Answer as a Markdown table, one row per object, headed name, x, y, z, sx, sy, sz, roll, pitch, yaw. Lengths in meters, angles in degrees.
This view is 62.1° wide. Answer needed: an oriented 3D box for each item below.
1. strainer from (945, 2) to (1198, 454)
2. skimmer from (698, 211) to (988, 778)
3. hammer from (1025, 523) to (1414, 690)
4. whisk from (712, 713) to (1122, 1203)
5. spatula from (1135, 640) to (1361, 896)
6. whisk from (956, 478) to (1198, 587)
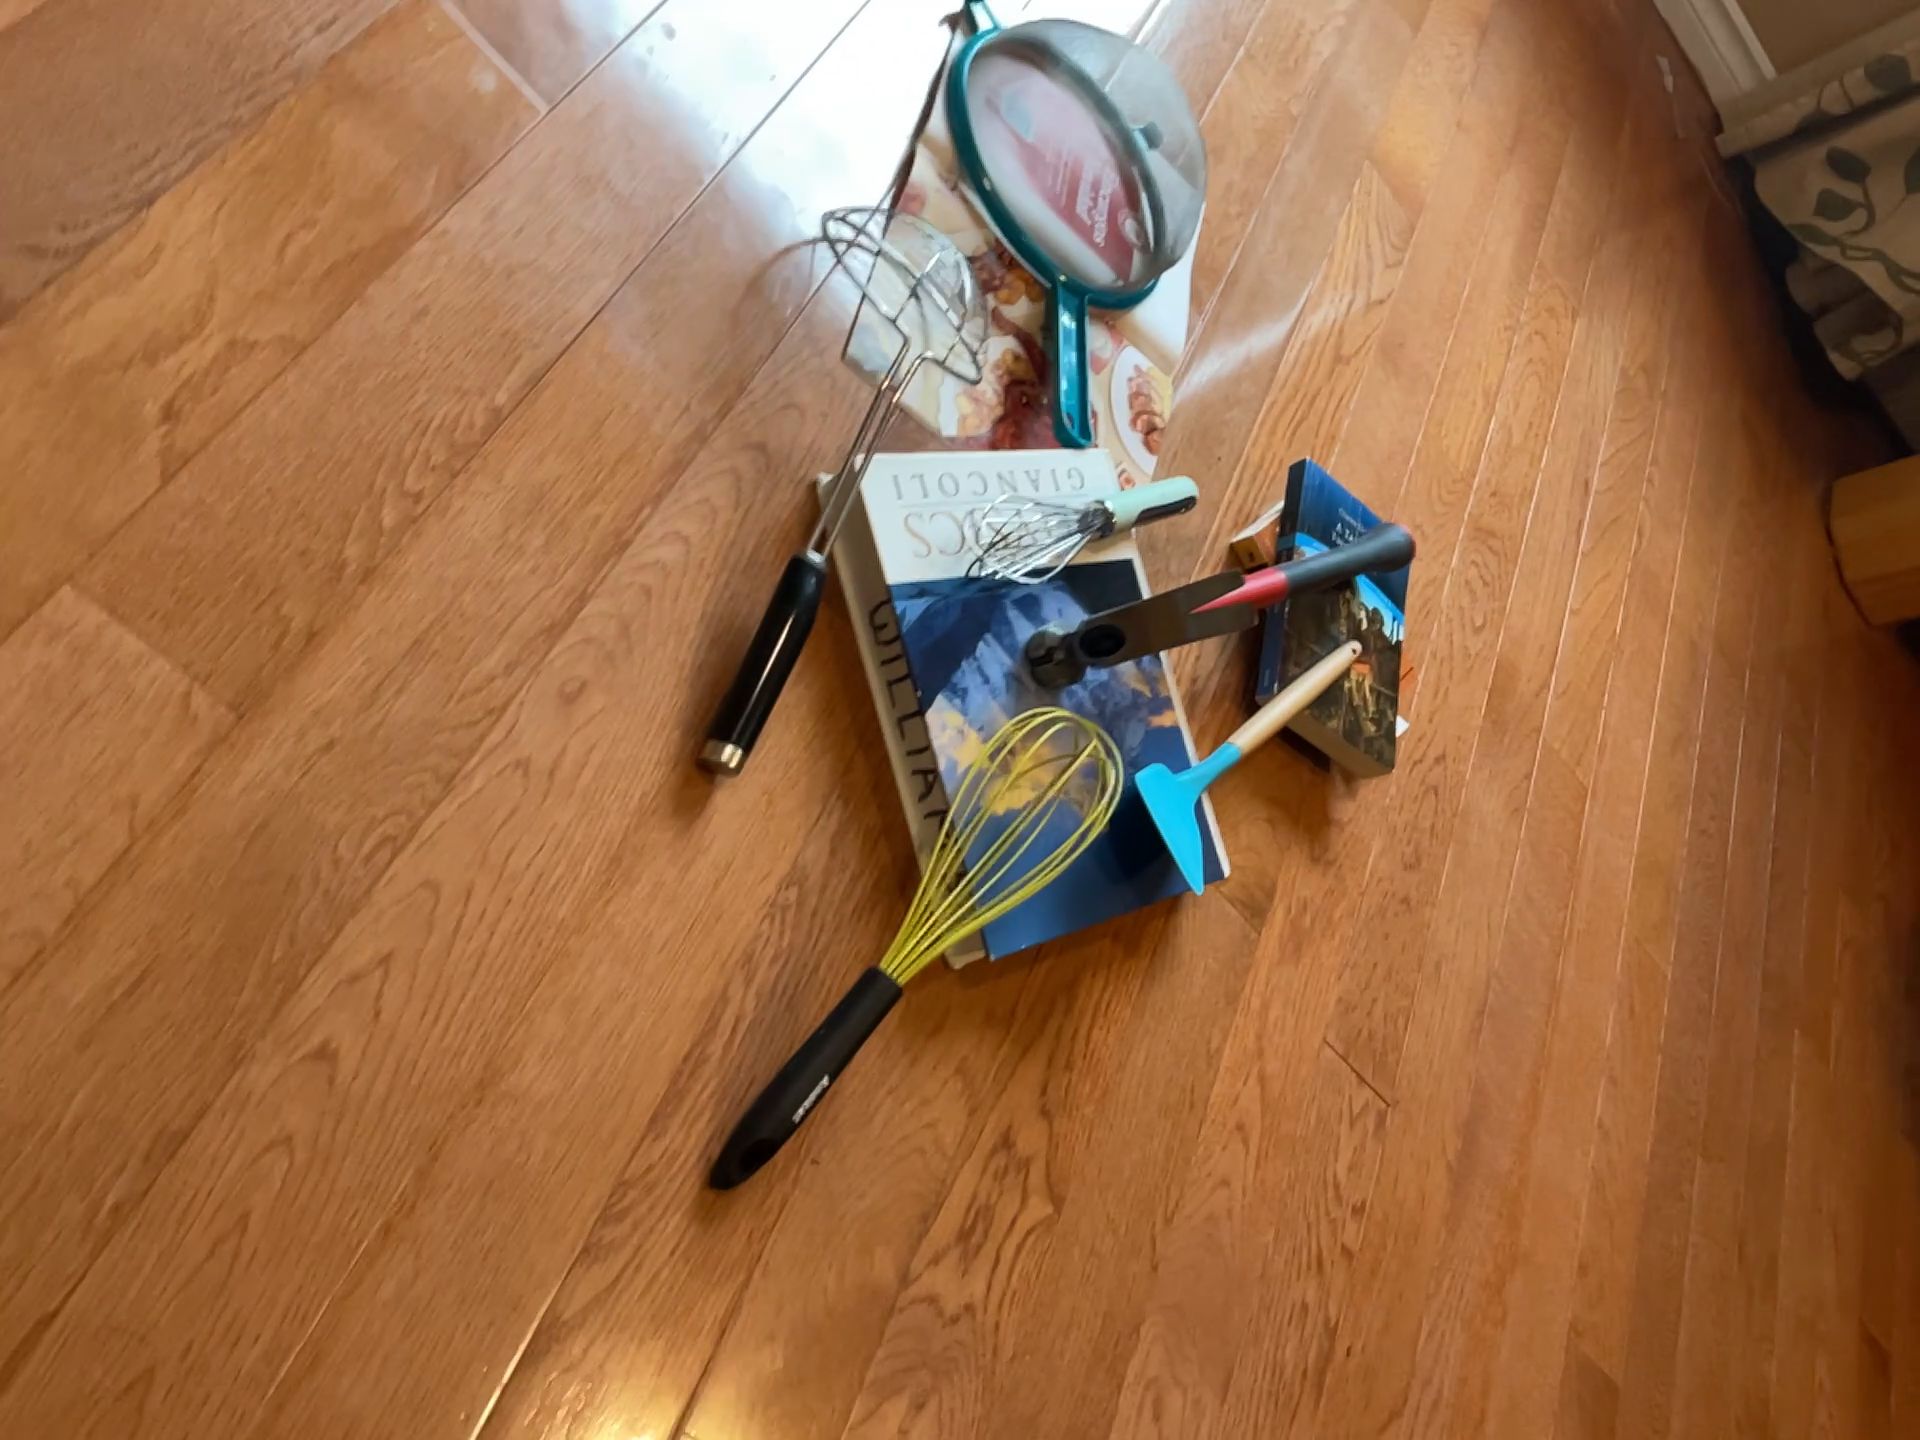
| name | x | y | z | sx | sy | sz | roll | pitch | yaw |
| --- | --- | --- | --- | --- | --- | --- | --- | --- | --- |
| strainer | 0.097 | -0.332 | 1.047 | 0.211 | 0.095 | 0.341 | 23 | 54 | -37 |
| skimmer | -0.075 | -0.130 | 0.871 | 0.127 | 0.090 | 0.364 | 36 | 64 | -32 |
| hammer | 0.209 | -0.088 | 1.008 | 0.387 | 0.143 | 0.038 | -19 | 93 | -48 |
| whisk | -0.021 | 0.111 | 0.792 | 0.312 | 0.067 | 0.080 | -50 | 127 | -27 |
| spatula | 0.194 | 0.009 | 1.014 | 0.318 | 0.044 | 0.082 | -34 | 98 | -45 |
| whisk | 0.078 | -0.118 | 0.955 | 0.059 | 0.057 | 0.247 | 44 | 36 | 18 |
